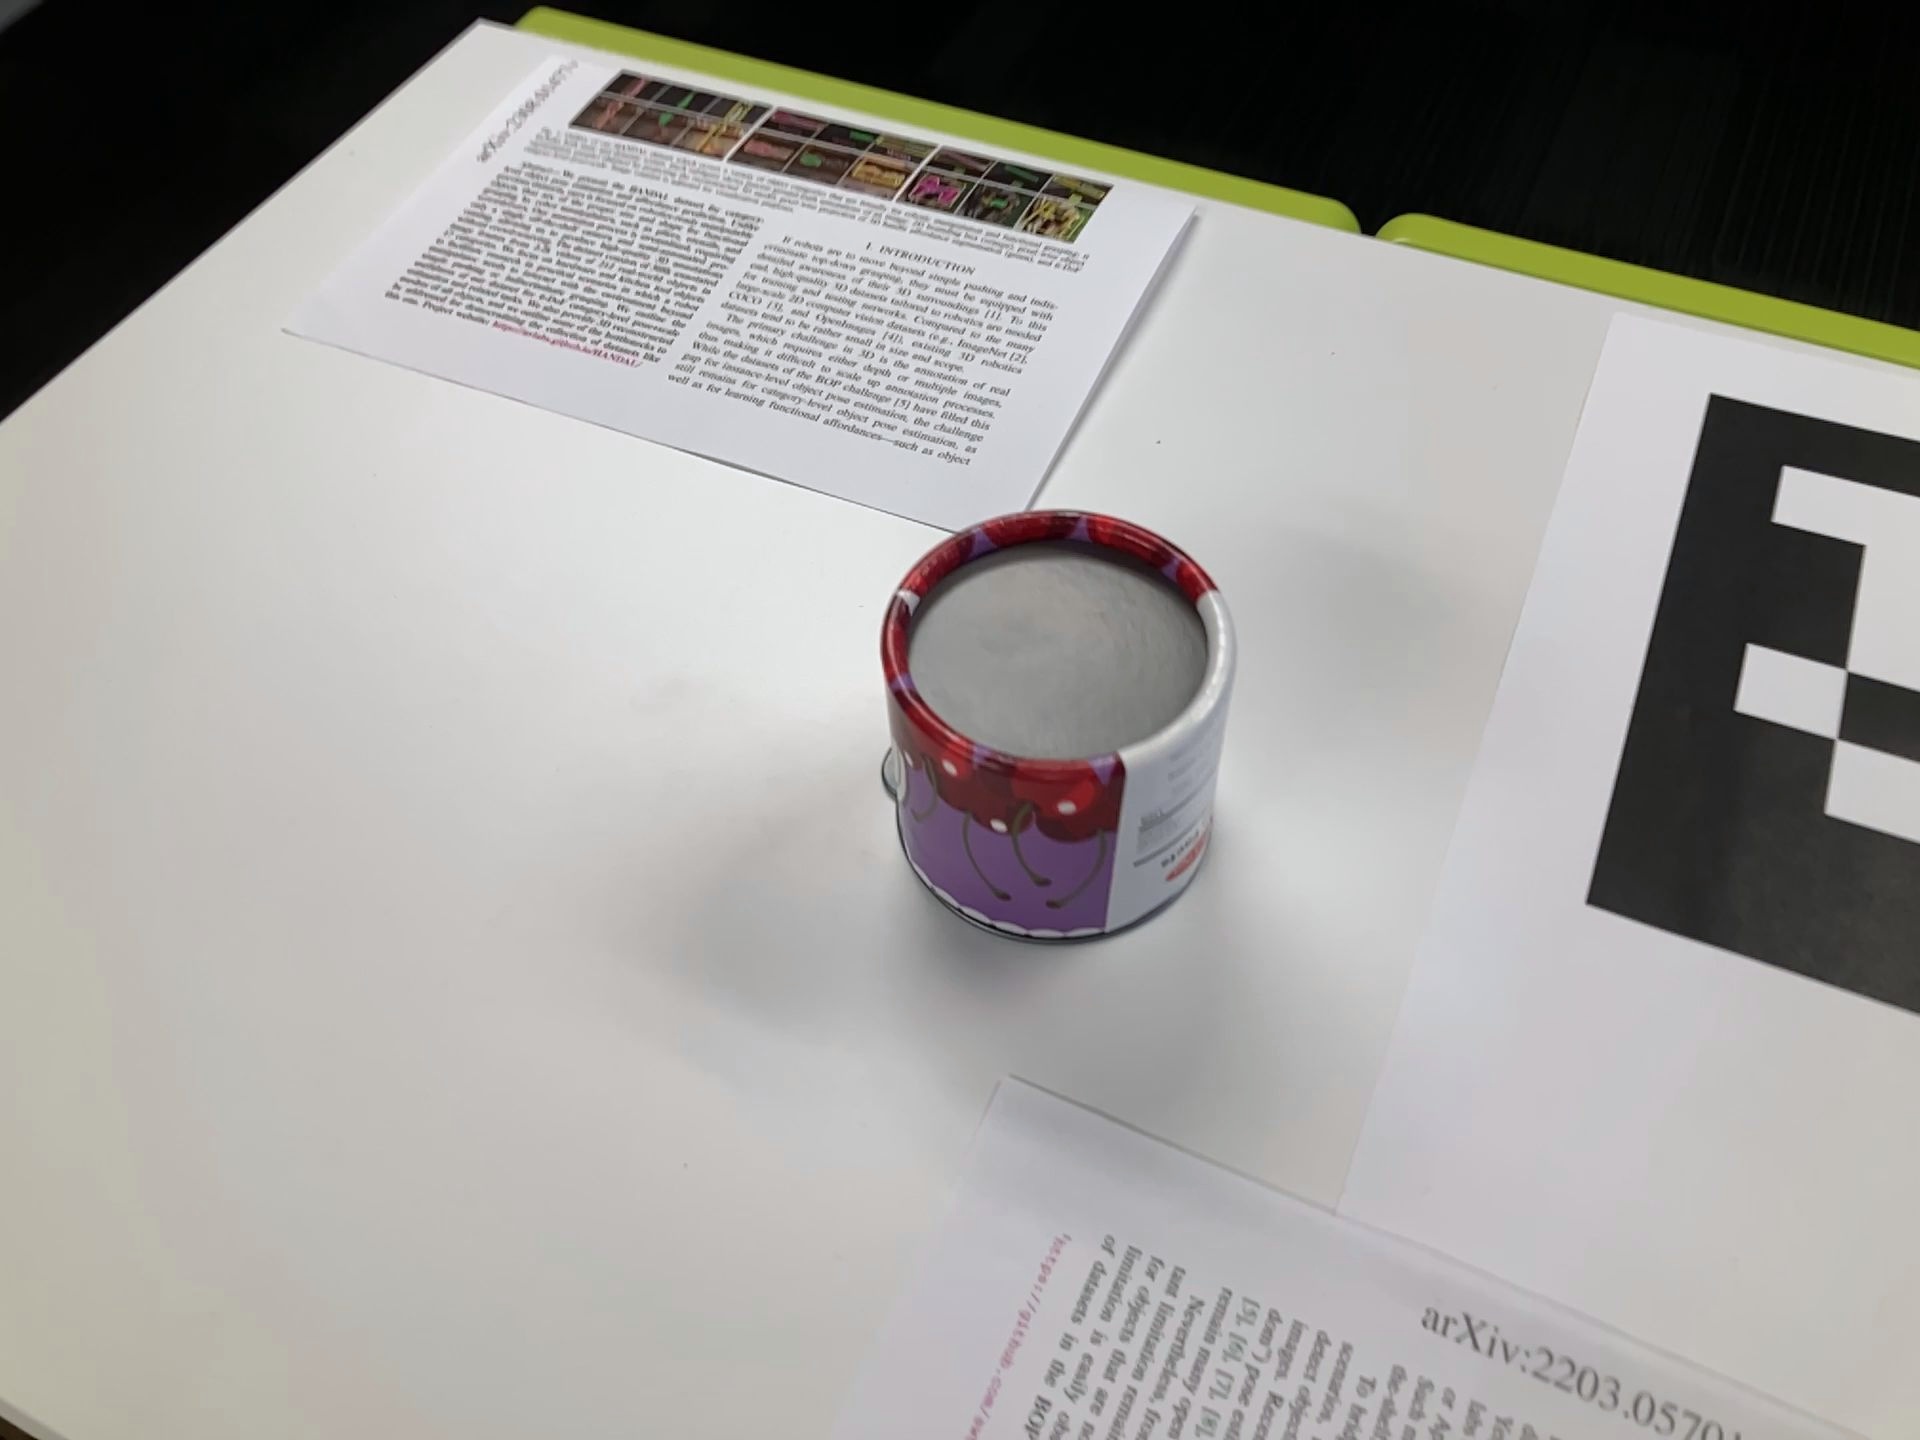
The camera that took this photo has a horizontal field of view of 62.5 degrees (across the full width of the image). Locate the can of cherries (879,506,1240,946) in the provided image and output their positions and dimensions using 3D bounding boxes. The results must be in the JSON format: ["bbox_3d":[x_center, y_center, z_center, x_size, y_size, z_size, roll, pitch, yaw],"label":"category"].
[{"bbox_3d":[0.016,0.000,0.309,0.071,0.058,0.071,-2,53,2],"label":"can of cherries"}]
